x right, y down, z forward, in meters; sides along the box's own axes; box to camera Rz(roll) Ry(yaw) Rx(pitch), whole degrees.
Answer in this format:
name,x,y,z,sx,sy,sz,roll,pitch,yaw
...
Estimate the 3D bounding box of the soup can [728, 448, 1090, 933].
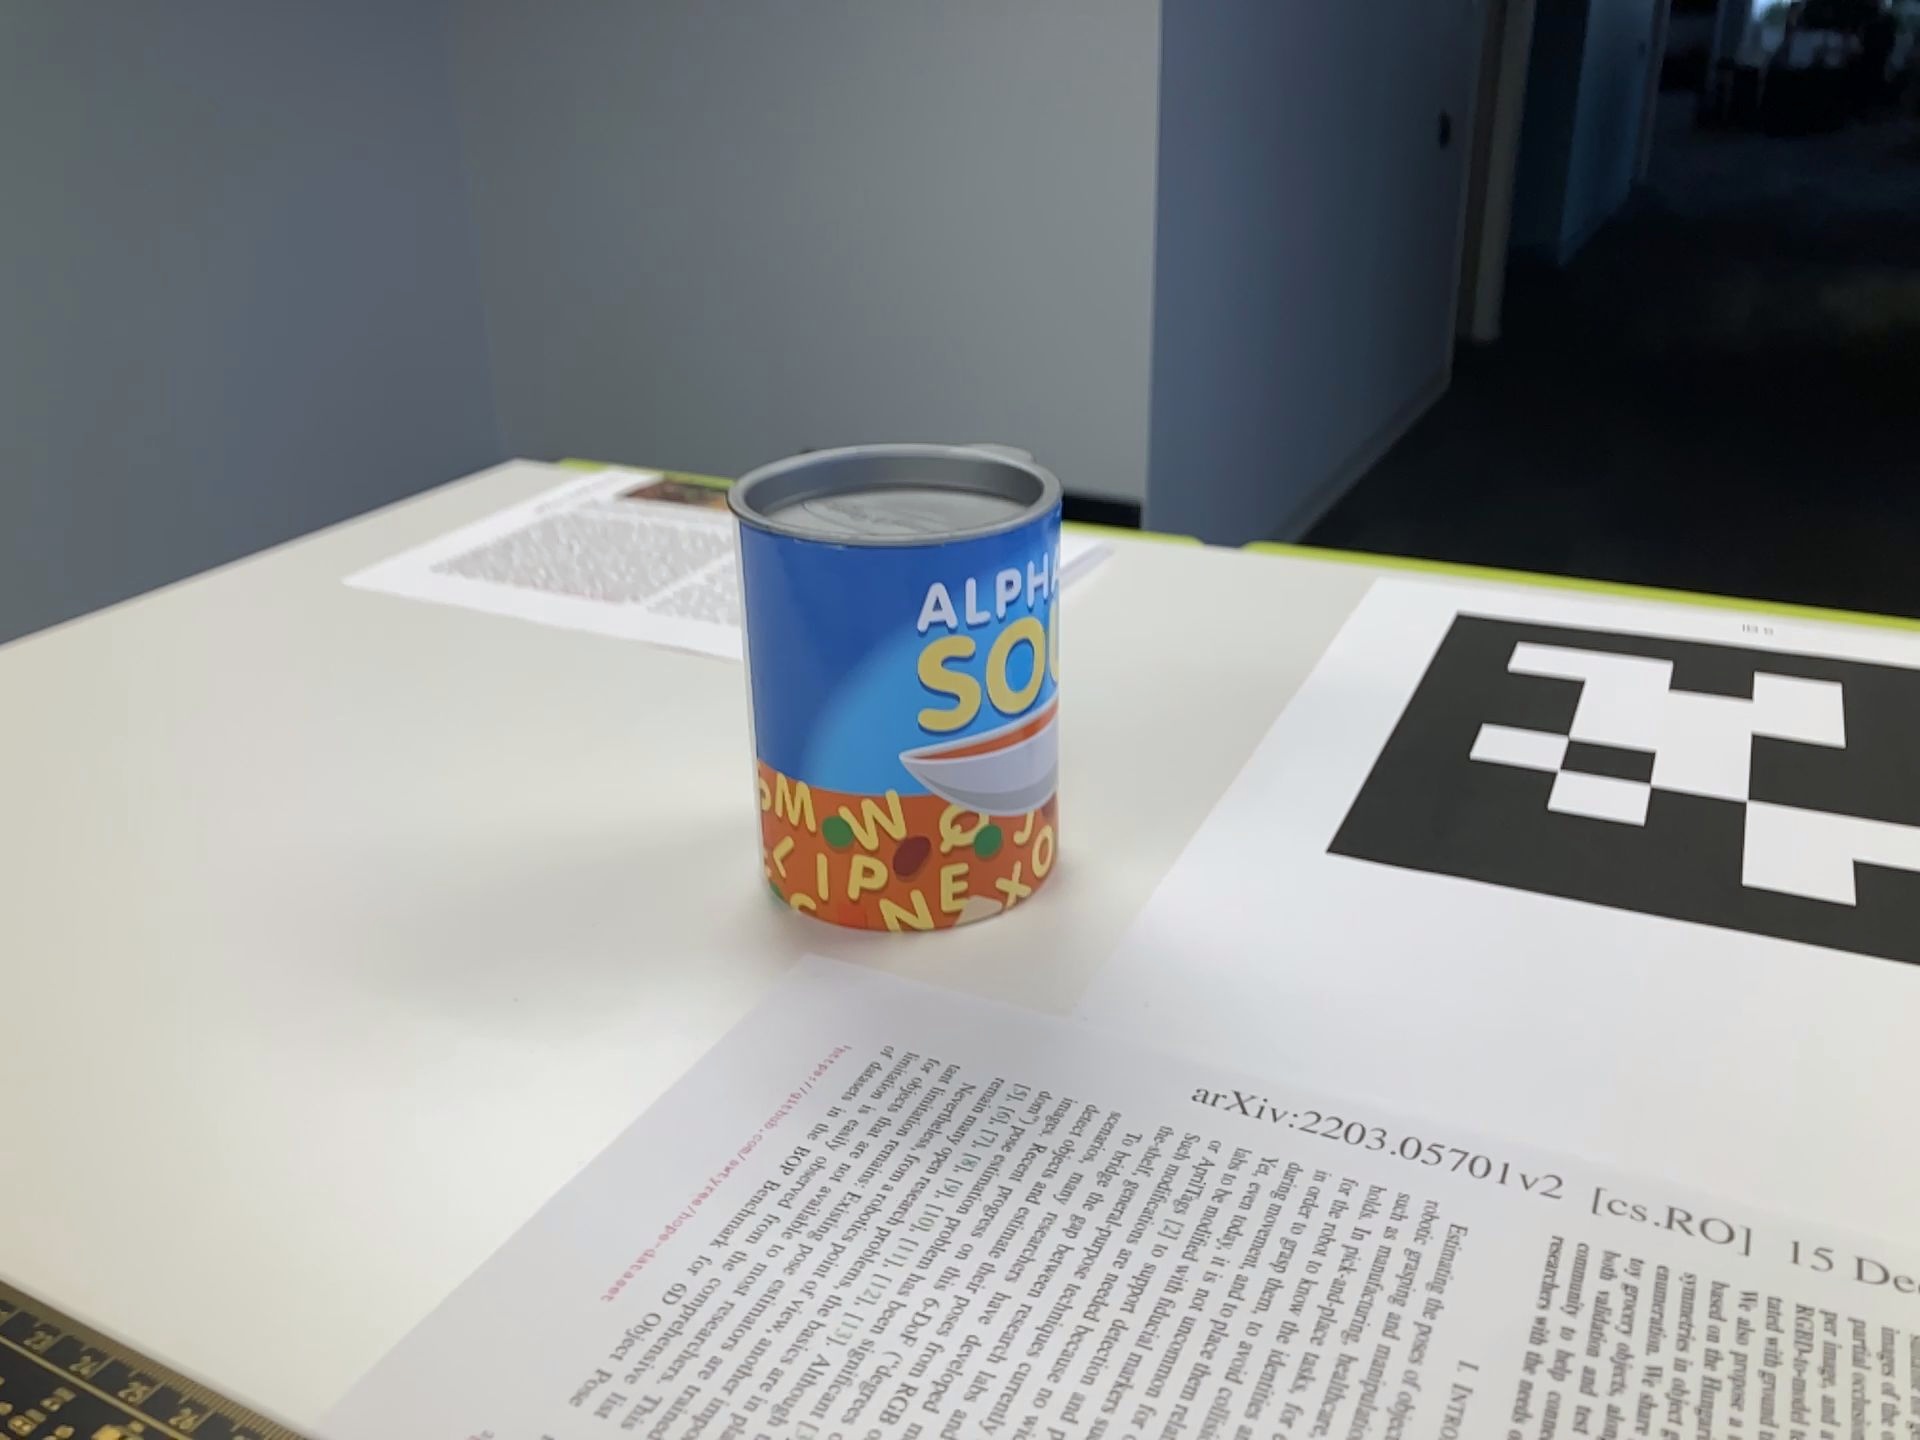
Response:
name,x,y,z,sx,sy,sz,roll,pitch,yaw
soup can,-0.009,-0.008,0.329,0.071,0.084,0.071,-1,24,1
